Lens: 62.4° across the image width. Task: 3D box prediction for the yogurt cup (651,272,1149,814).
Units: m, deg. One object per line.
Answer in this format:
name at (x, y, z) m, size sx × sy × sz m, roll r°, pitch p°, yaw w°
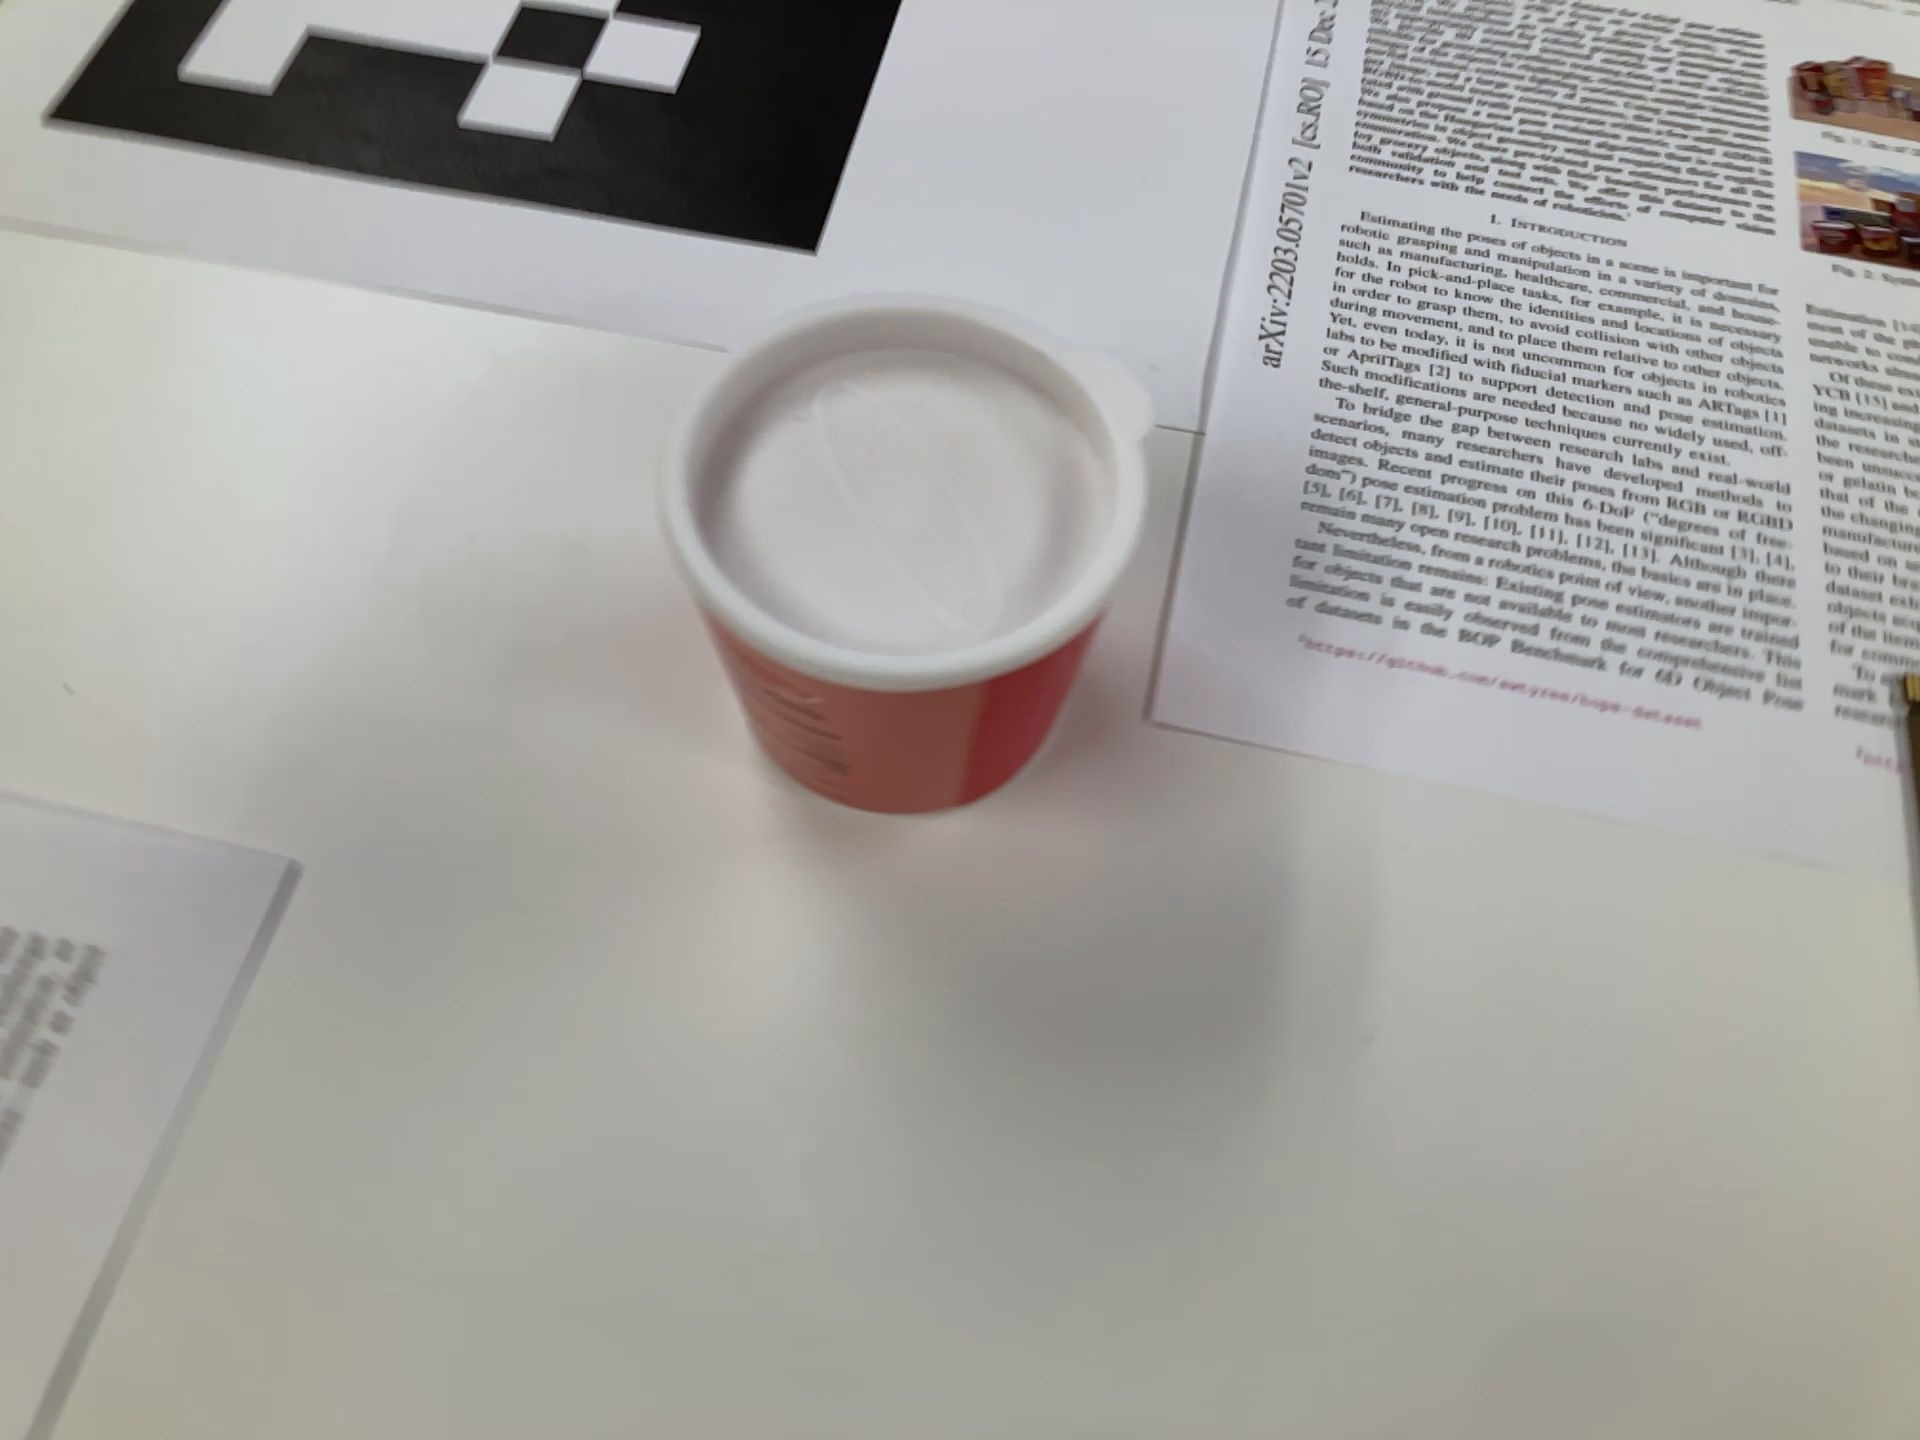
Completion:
yogurt cup at (-0.009, -0.022, 0.238) m, size 0.072 × 0.054 × 0.072 m, roll 1°, pitch 60°, yaw -1°
